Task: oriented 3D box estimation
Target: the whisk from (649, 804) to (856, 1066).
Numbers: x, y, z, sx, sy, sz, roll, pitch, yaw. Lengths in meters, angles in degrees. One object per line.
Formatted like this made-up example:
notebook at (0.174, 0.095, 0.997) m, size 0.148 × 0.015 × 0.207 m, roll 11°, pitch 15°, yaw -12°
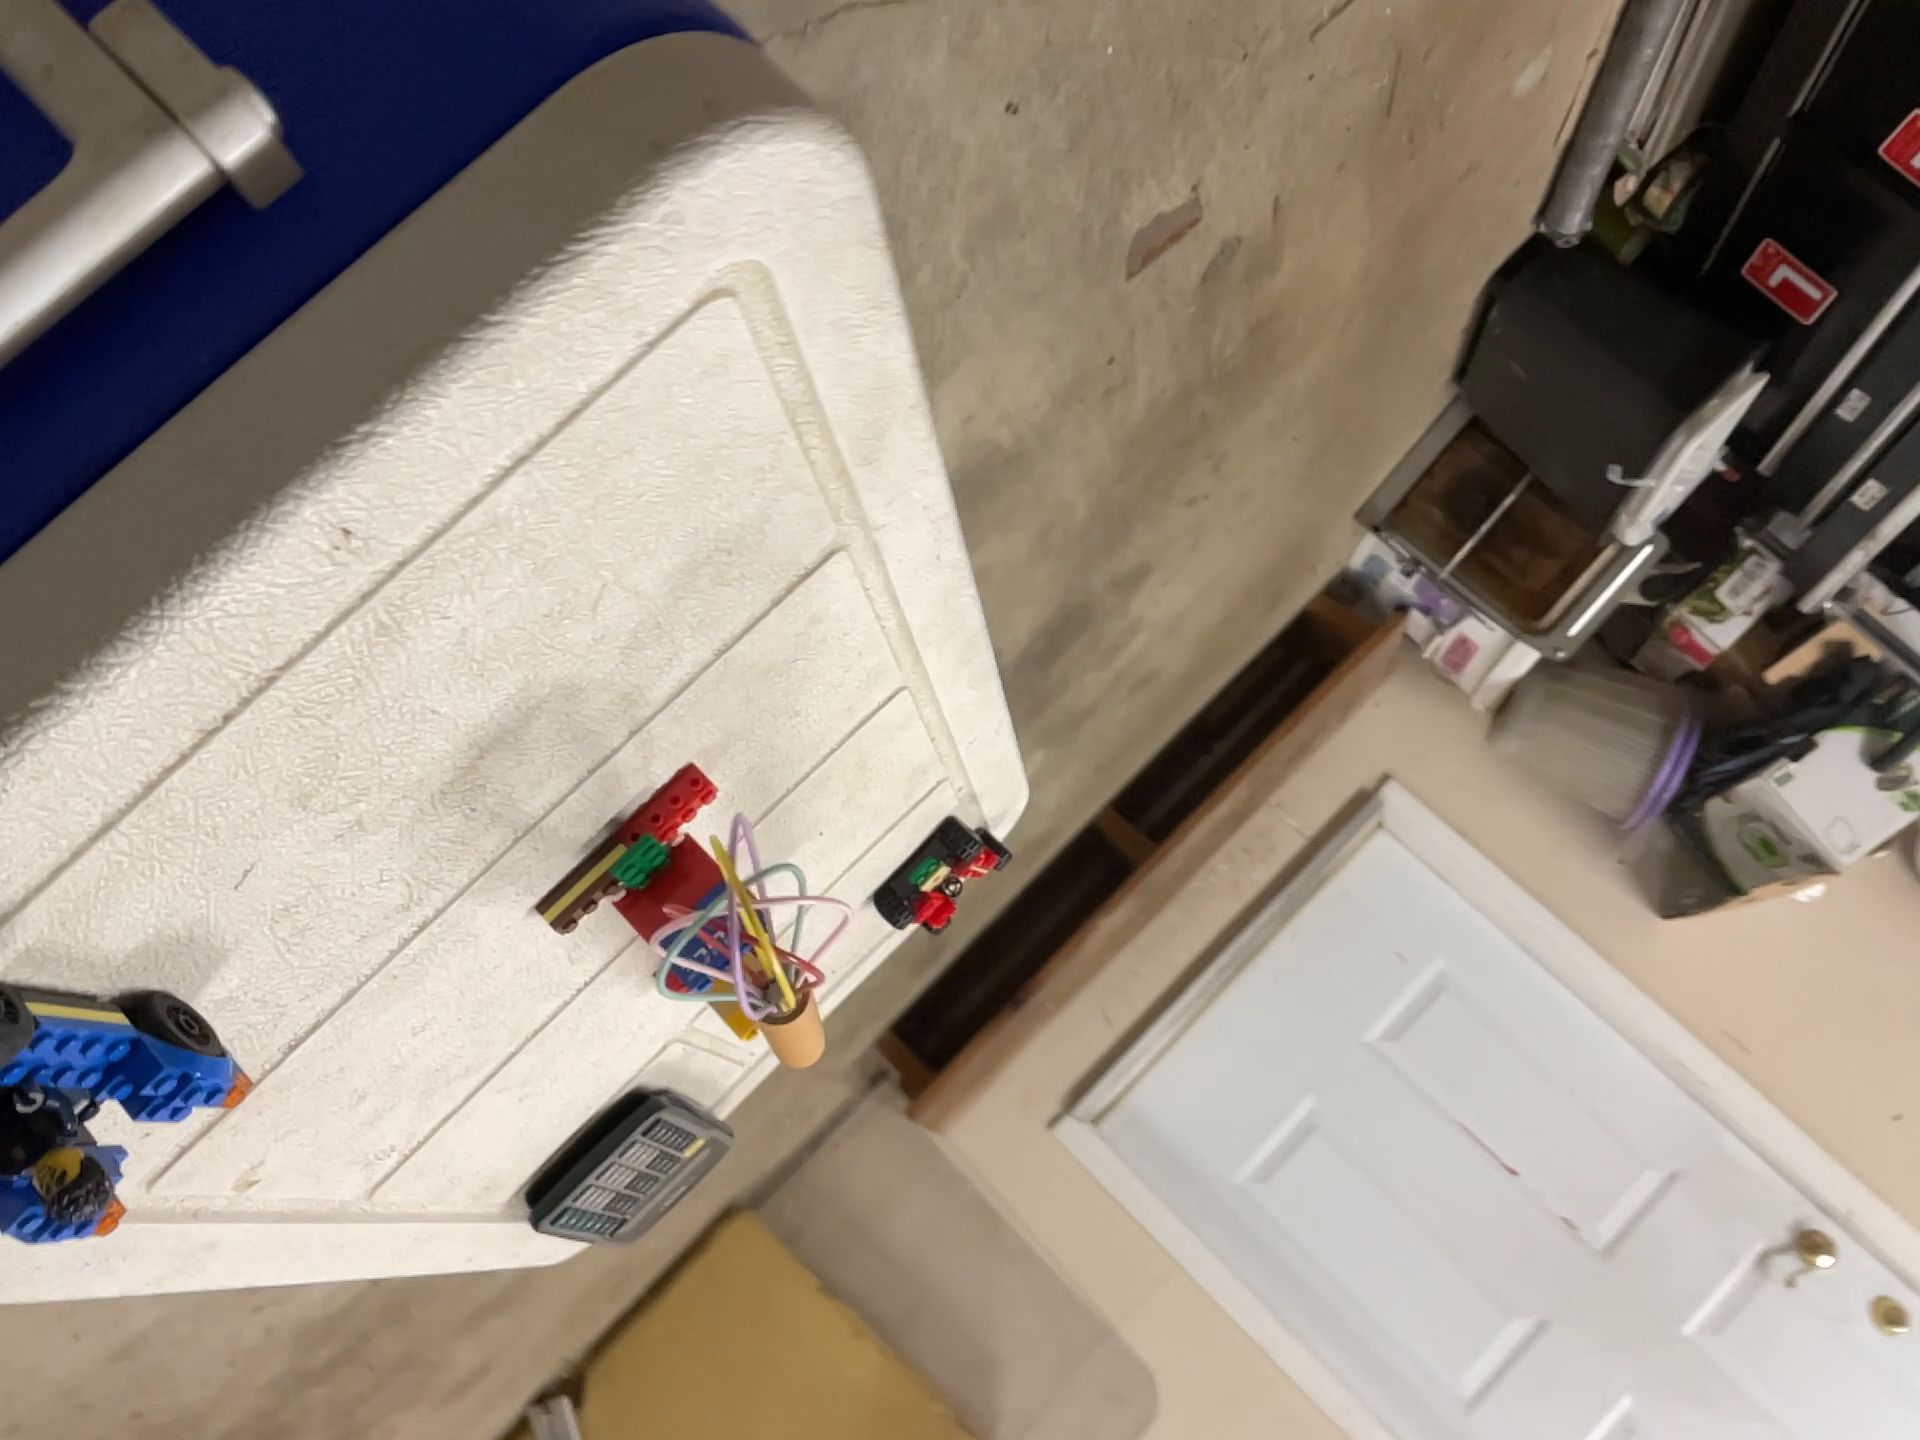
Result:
whisk at (-0.058, 0.084, 0.496) m, size 0.051 × 0.047 × 0.245 m, roll -55°, pitch 170°, yaw -18°
